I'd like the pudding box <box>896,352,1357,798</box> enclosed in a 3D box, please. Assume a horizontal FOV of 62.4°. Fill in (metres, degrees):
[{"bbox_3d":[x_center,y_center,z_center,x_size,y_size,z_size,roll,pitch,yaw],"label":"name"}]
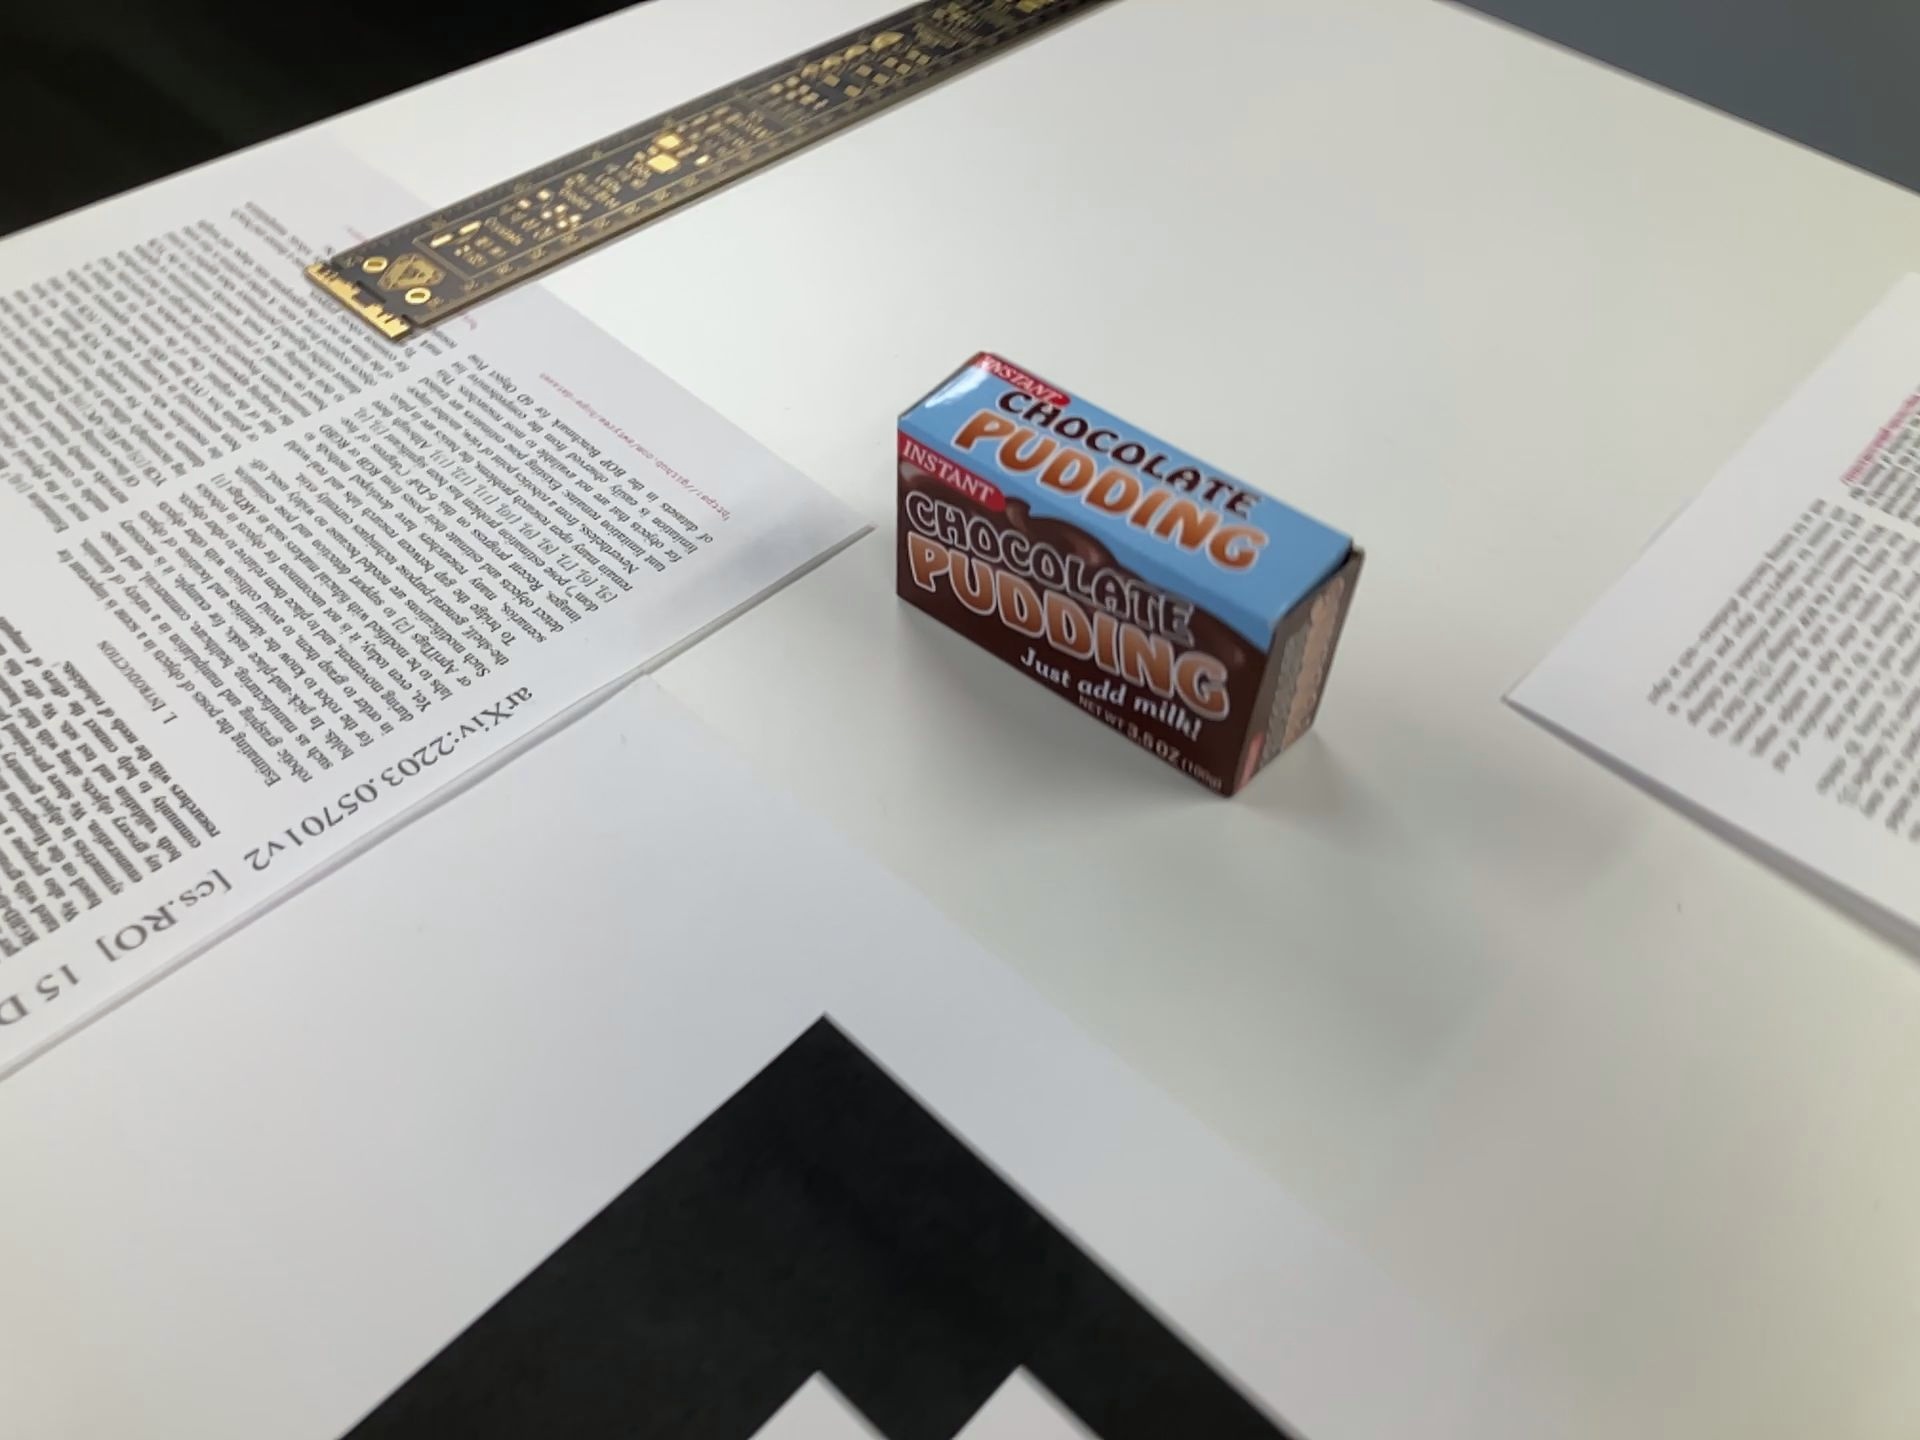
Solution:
[{"bbox_3d":[0.028,-0.029,0.300,0.083,0.049,0.030,33,57,22],"label":"pudding box"}]
